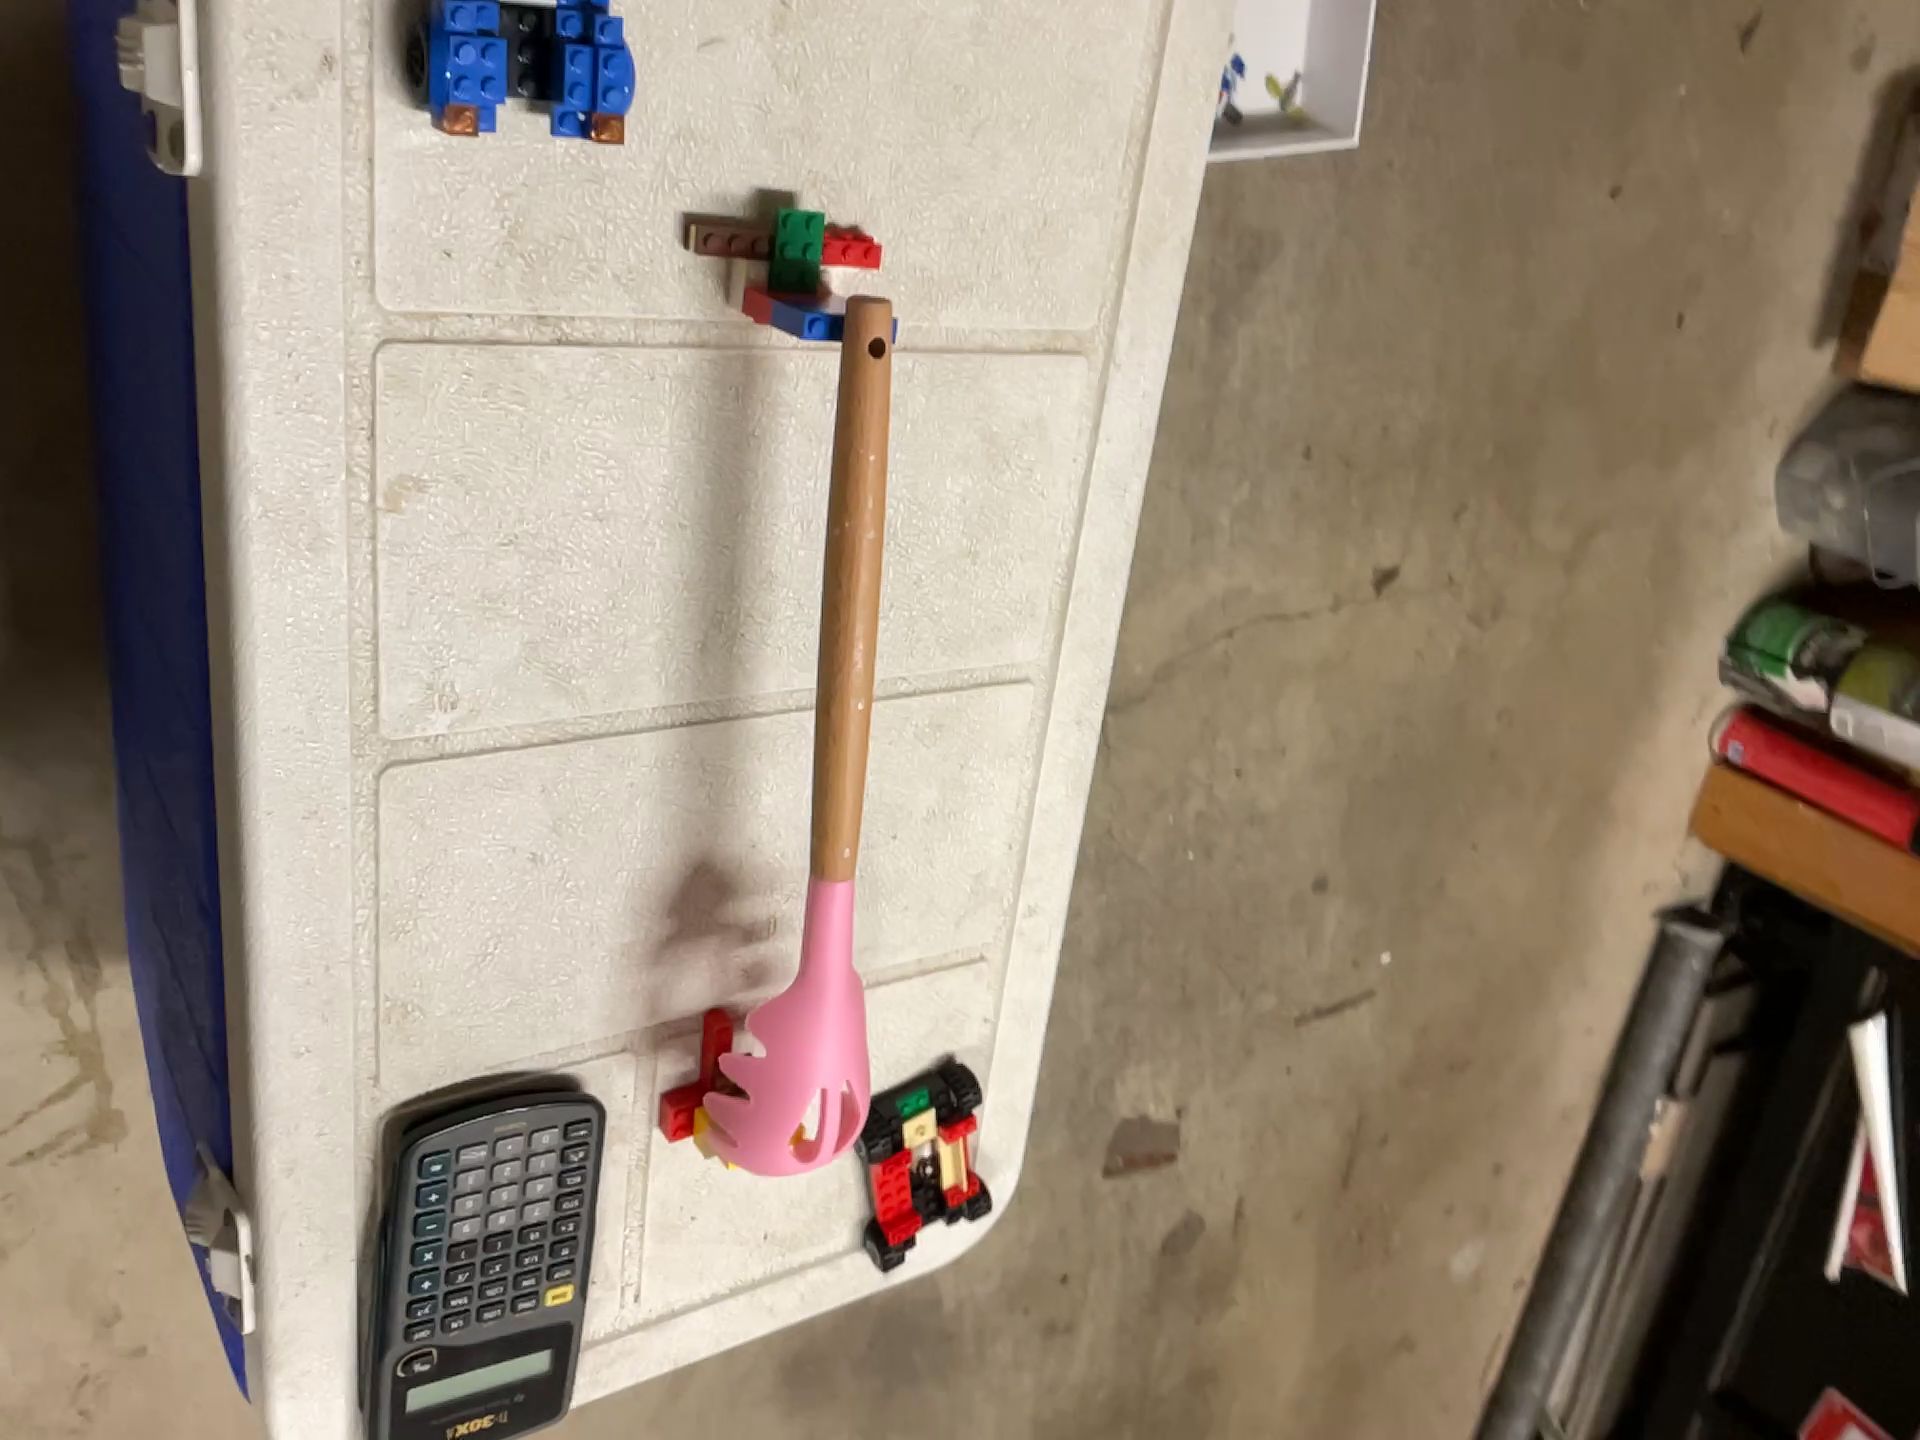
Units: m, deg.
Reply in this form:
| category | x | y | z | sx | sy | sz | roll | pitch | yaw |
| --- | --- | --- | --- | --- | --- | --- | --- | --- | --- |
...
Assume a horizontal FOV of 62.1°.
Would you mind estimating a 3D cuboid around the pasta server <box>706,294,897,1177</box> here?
| category | x | y | z | sx | sy | sz | roll | pitch | yaw |
| --- | --- | --- | --- | --- | --- | --- | --- | --- | --- |
| pasta server | -0.044 | 0.022 | 0.521 | 0.060 | 0.040 | 0.316 | -9 | 115 | -33 |
